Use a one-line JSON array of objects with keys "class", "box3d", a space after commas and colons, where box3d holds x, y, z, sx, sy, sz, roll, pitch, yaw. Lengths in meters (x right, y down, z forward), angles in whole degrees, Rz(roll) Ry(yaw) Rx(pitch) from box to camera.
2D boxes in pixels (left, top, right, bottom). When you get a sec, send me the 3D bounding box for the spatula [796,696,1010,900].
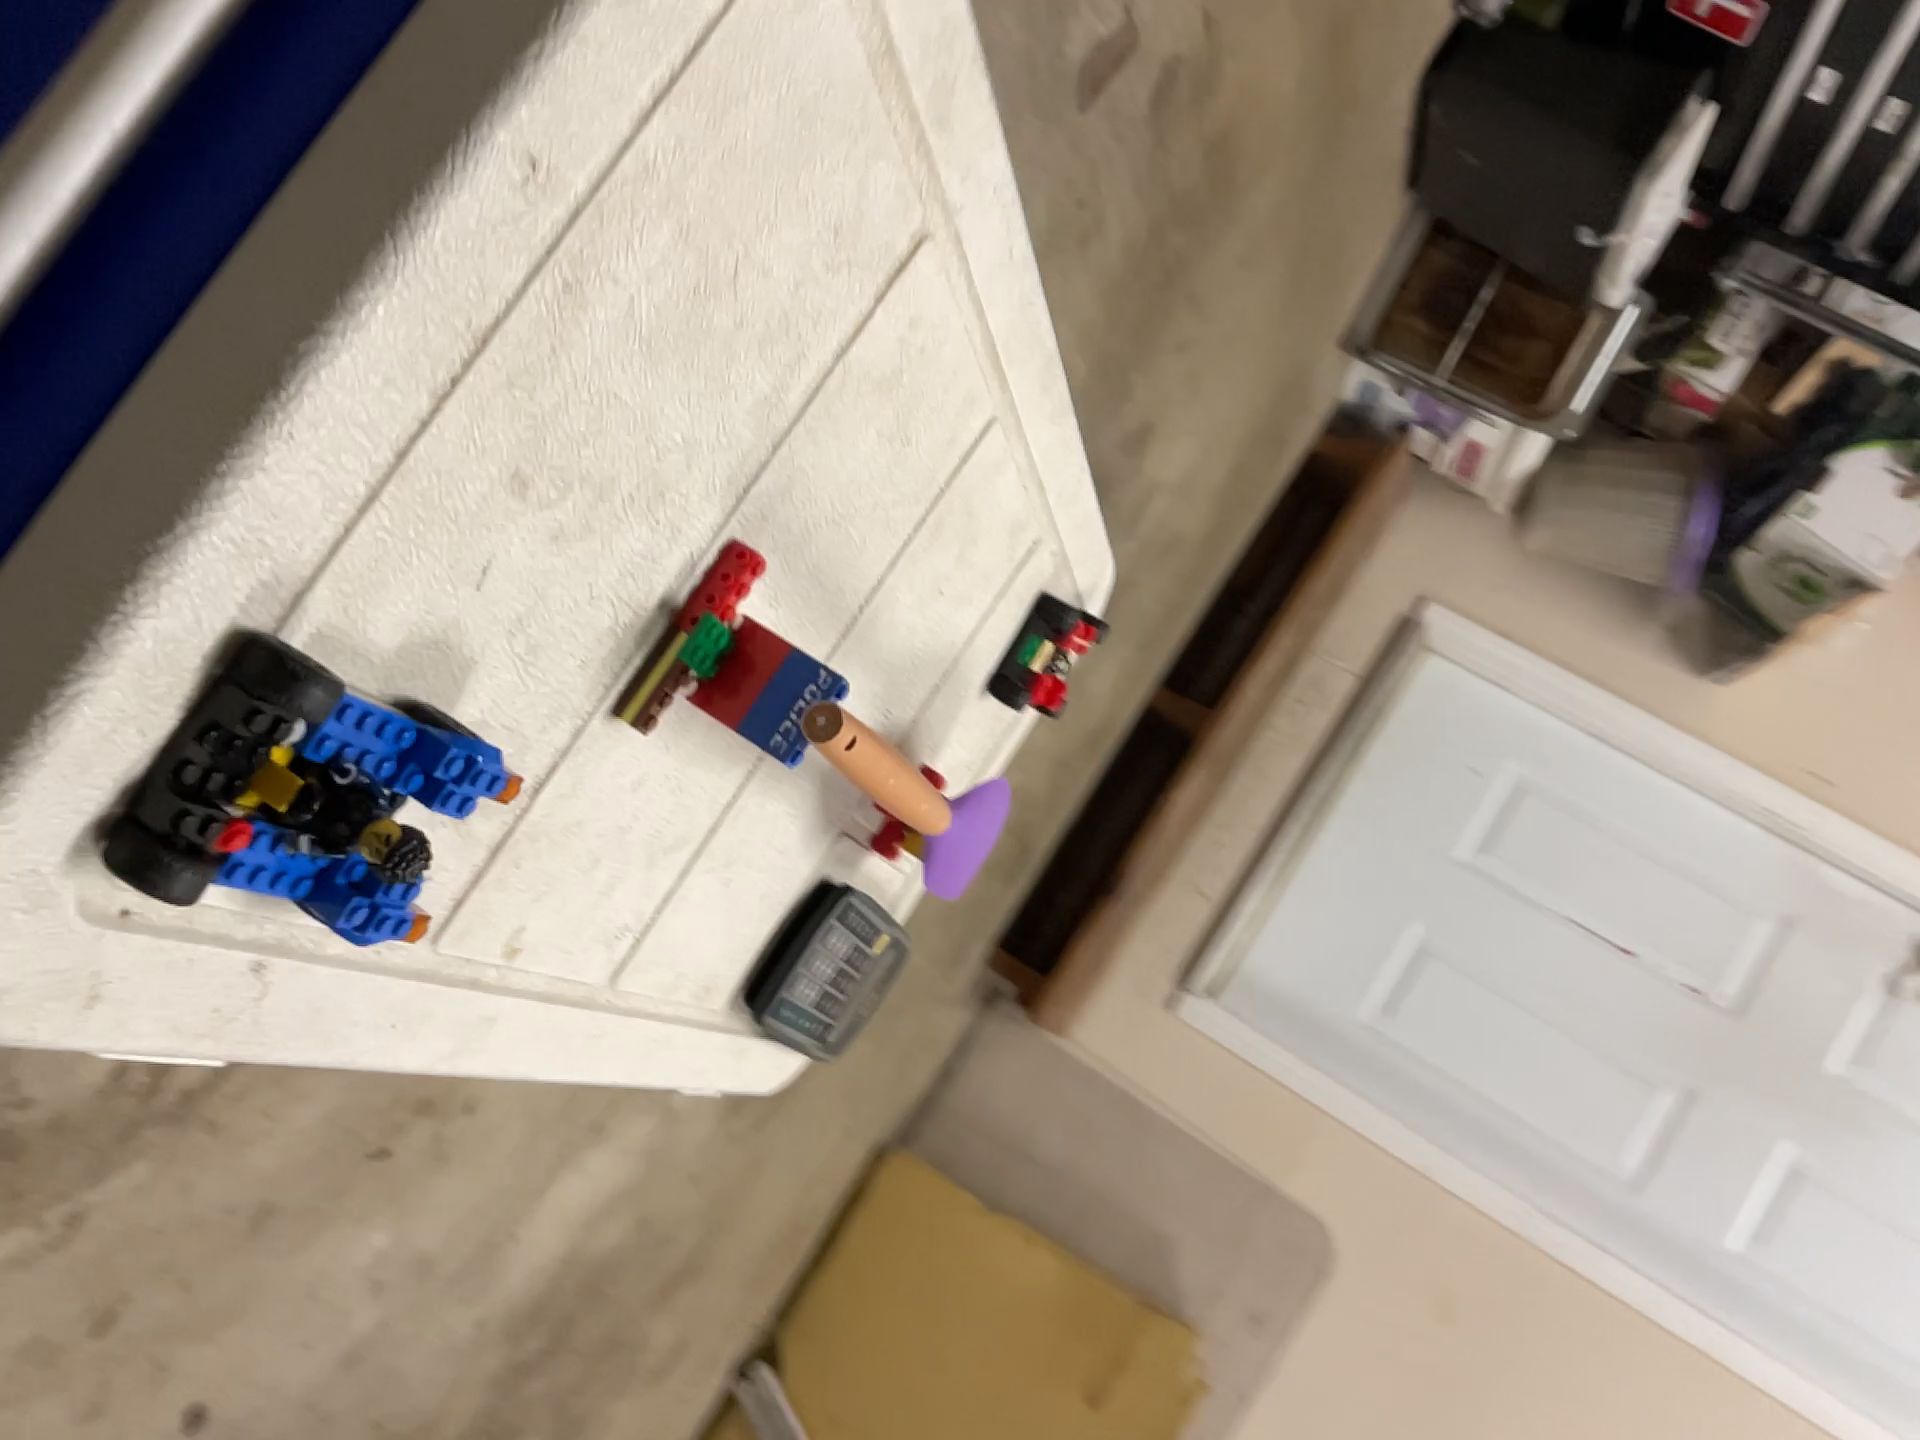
[{"class": "spatula", "box3d": [-0.014, 0.030, 0.598, 0.060, 0.018, 0.316, -56, 166, -4]}]
